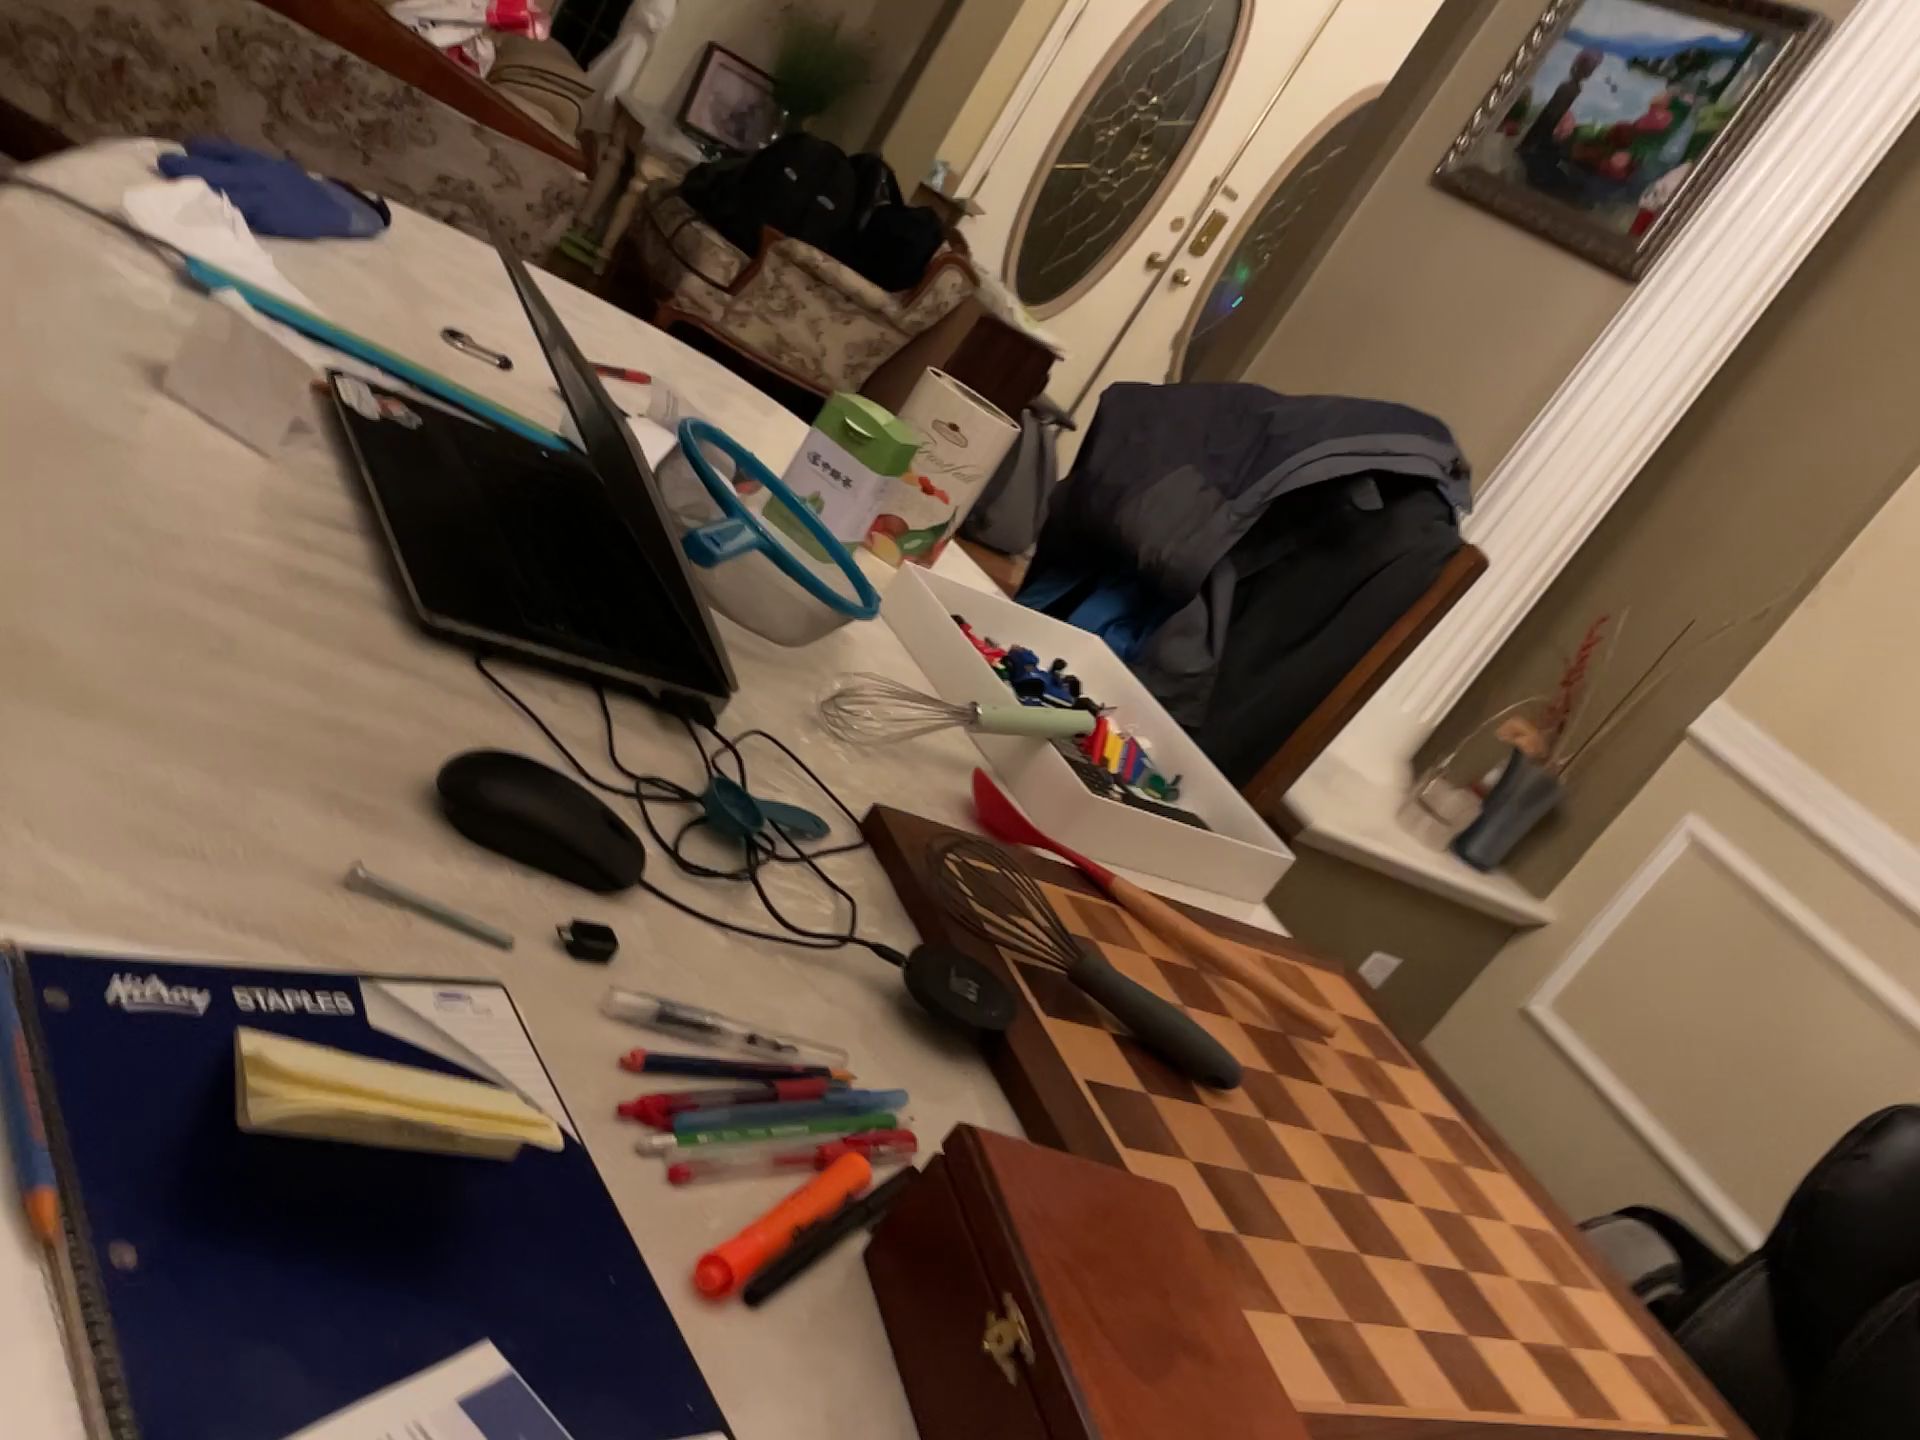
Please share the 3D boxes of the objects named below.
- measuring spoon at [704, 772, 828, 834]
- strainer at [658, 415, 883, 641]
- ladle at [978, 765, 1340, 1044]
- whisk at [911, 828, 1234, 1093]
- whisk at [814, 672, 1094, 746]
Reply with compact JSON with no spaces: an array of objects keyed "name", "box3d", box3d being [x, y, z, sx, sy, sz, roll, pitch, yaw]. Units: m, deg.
[{"name":"measuring spoon","box3d":[-0.117,0.059,0.959,0.042,0.021,0.128,51,11,23]},{"name":"strainer","box3d":[-0.172,-0.114,1.159,0.211,0.095,0.340,46,13,-4]},{"name":"ladle","box3d":[0.133,0.132,1.131,0.315,0.031,0.069,35,-4,17]},{"name":"whisk","box3d":[0.069,0.149,0.961,0.239,0.055,0.055,38,32,0]},{"name":"whisk","box3d":[0.000,-0.003,1.201,0.246,0.058,0.059,4,62,-32]}]
